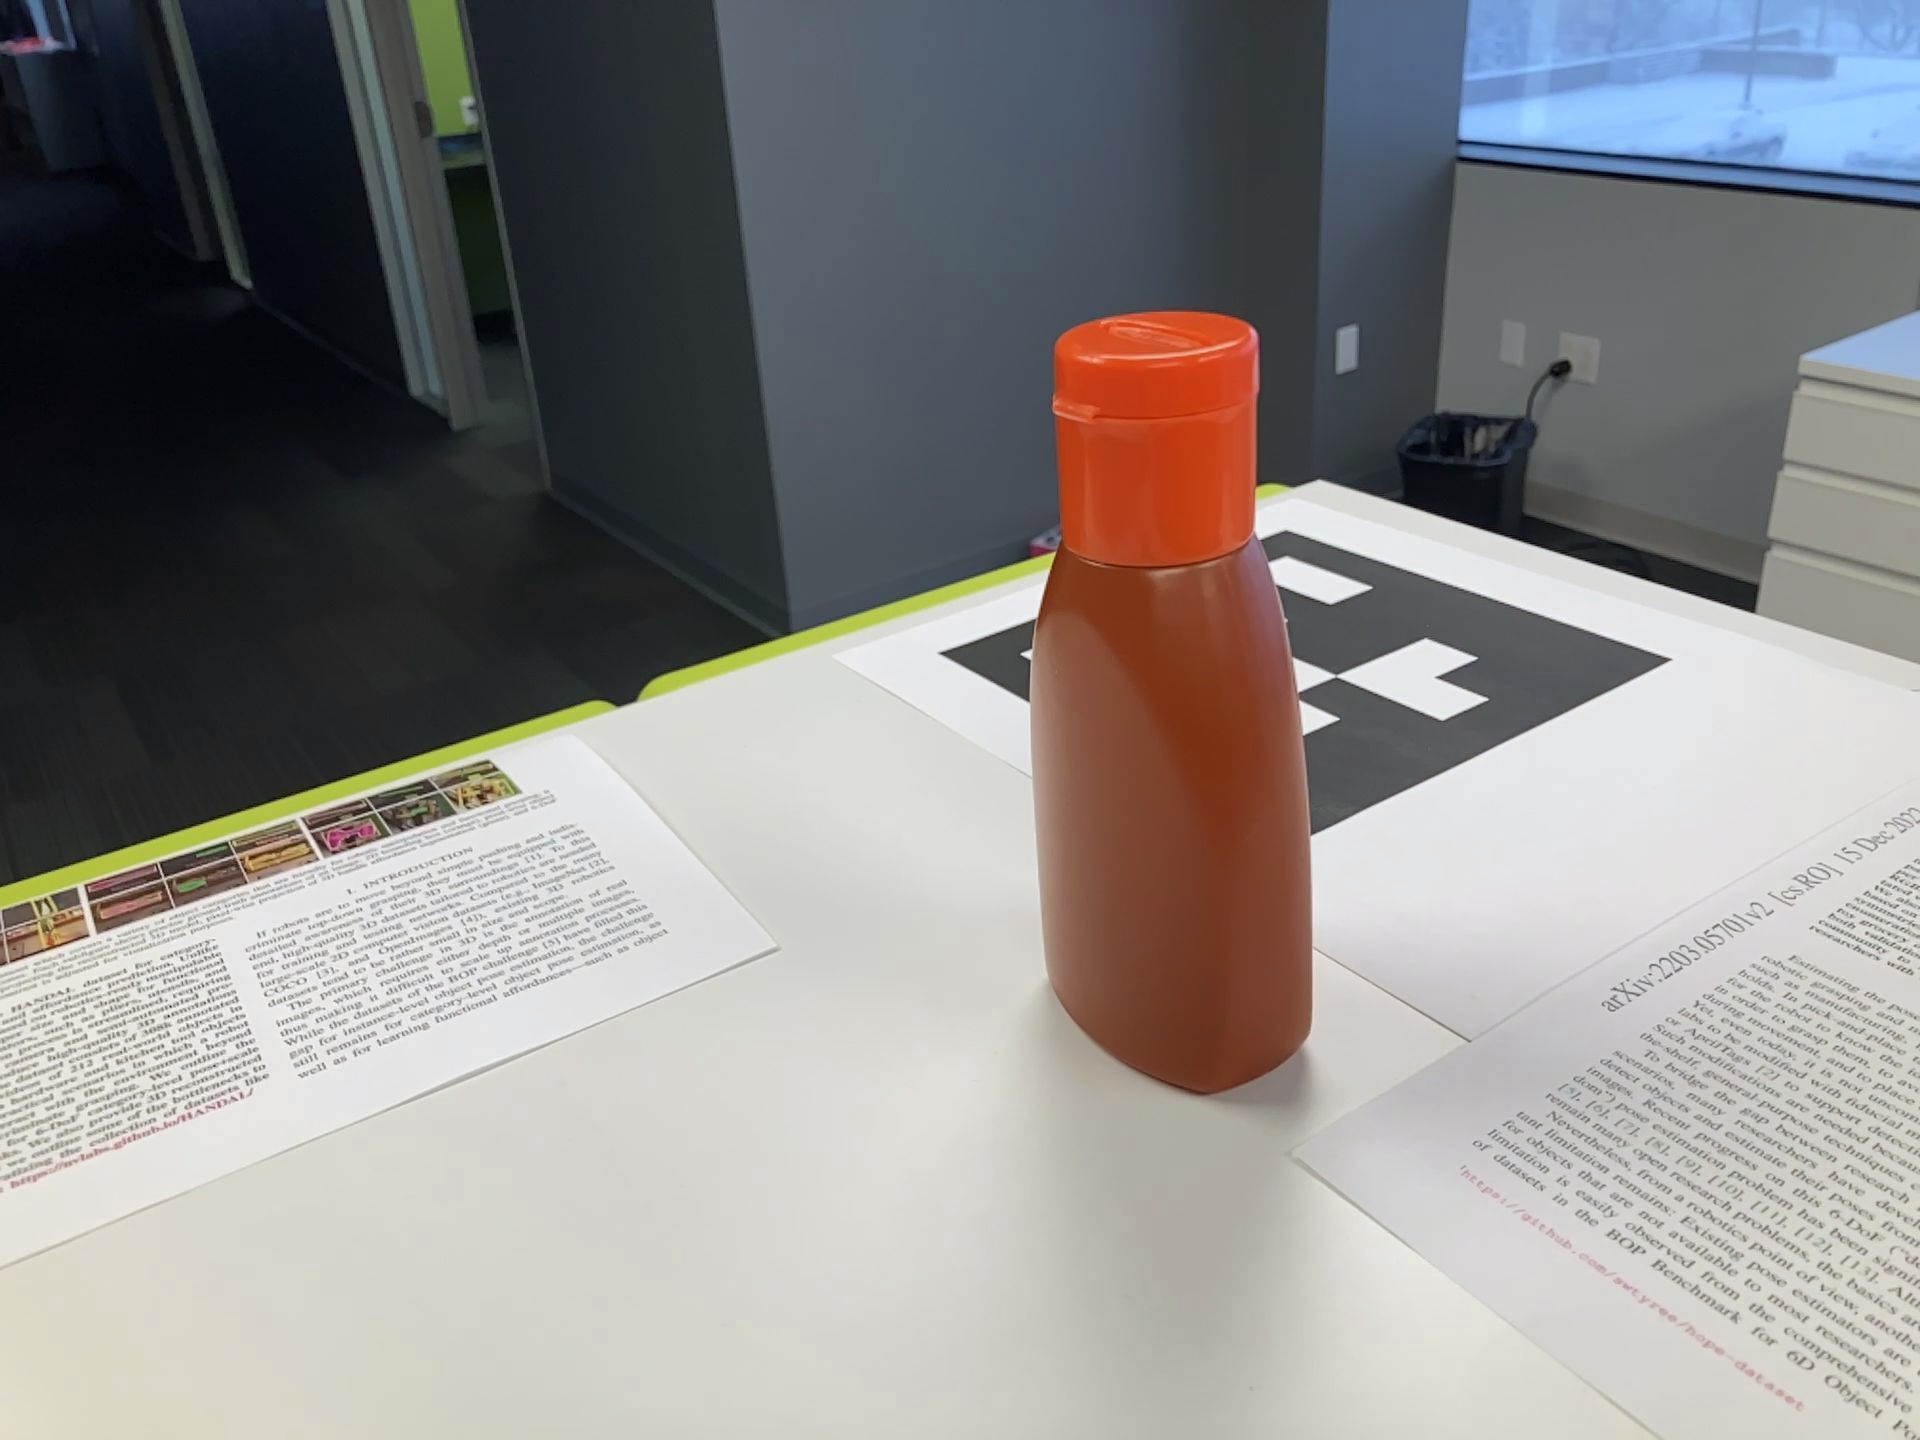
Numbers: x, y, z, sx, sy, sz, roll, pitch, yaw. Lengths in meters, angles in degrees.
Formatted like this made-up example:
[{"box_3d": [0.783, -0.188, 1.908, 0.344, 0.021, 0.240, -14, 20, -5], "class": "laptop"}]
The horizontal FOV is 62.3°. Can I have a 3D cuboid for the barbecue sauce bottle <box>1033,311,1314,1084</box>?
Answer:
[{"box_3d": [0.041, -0.003, 0.317, 0.043, 0.148, 0.065, -20, 29, -27], "class": "barbecue sauce bottle"}]
